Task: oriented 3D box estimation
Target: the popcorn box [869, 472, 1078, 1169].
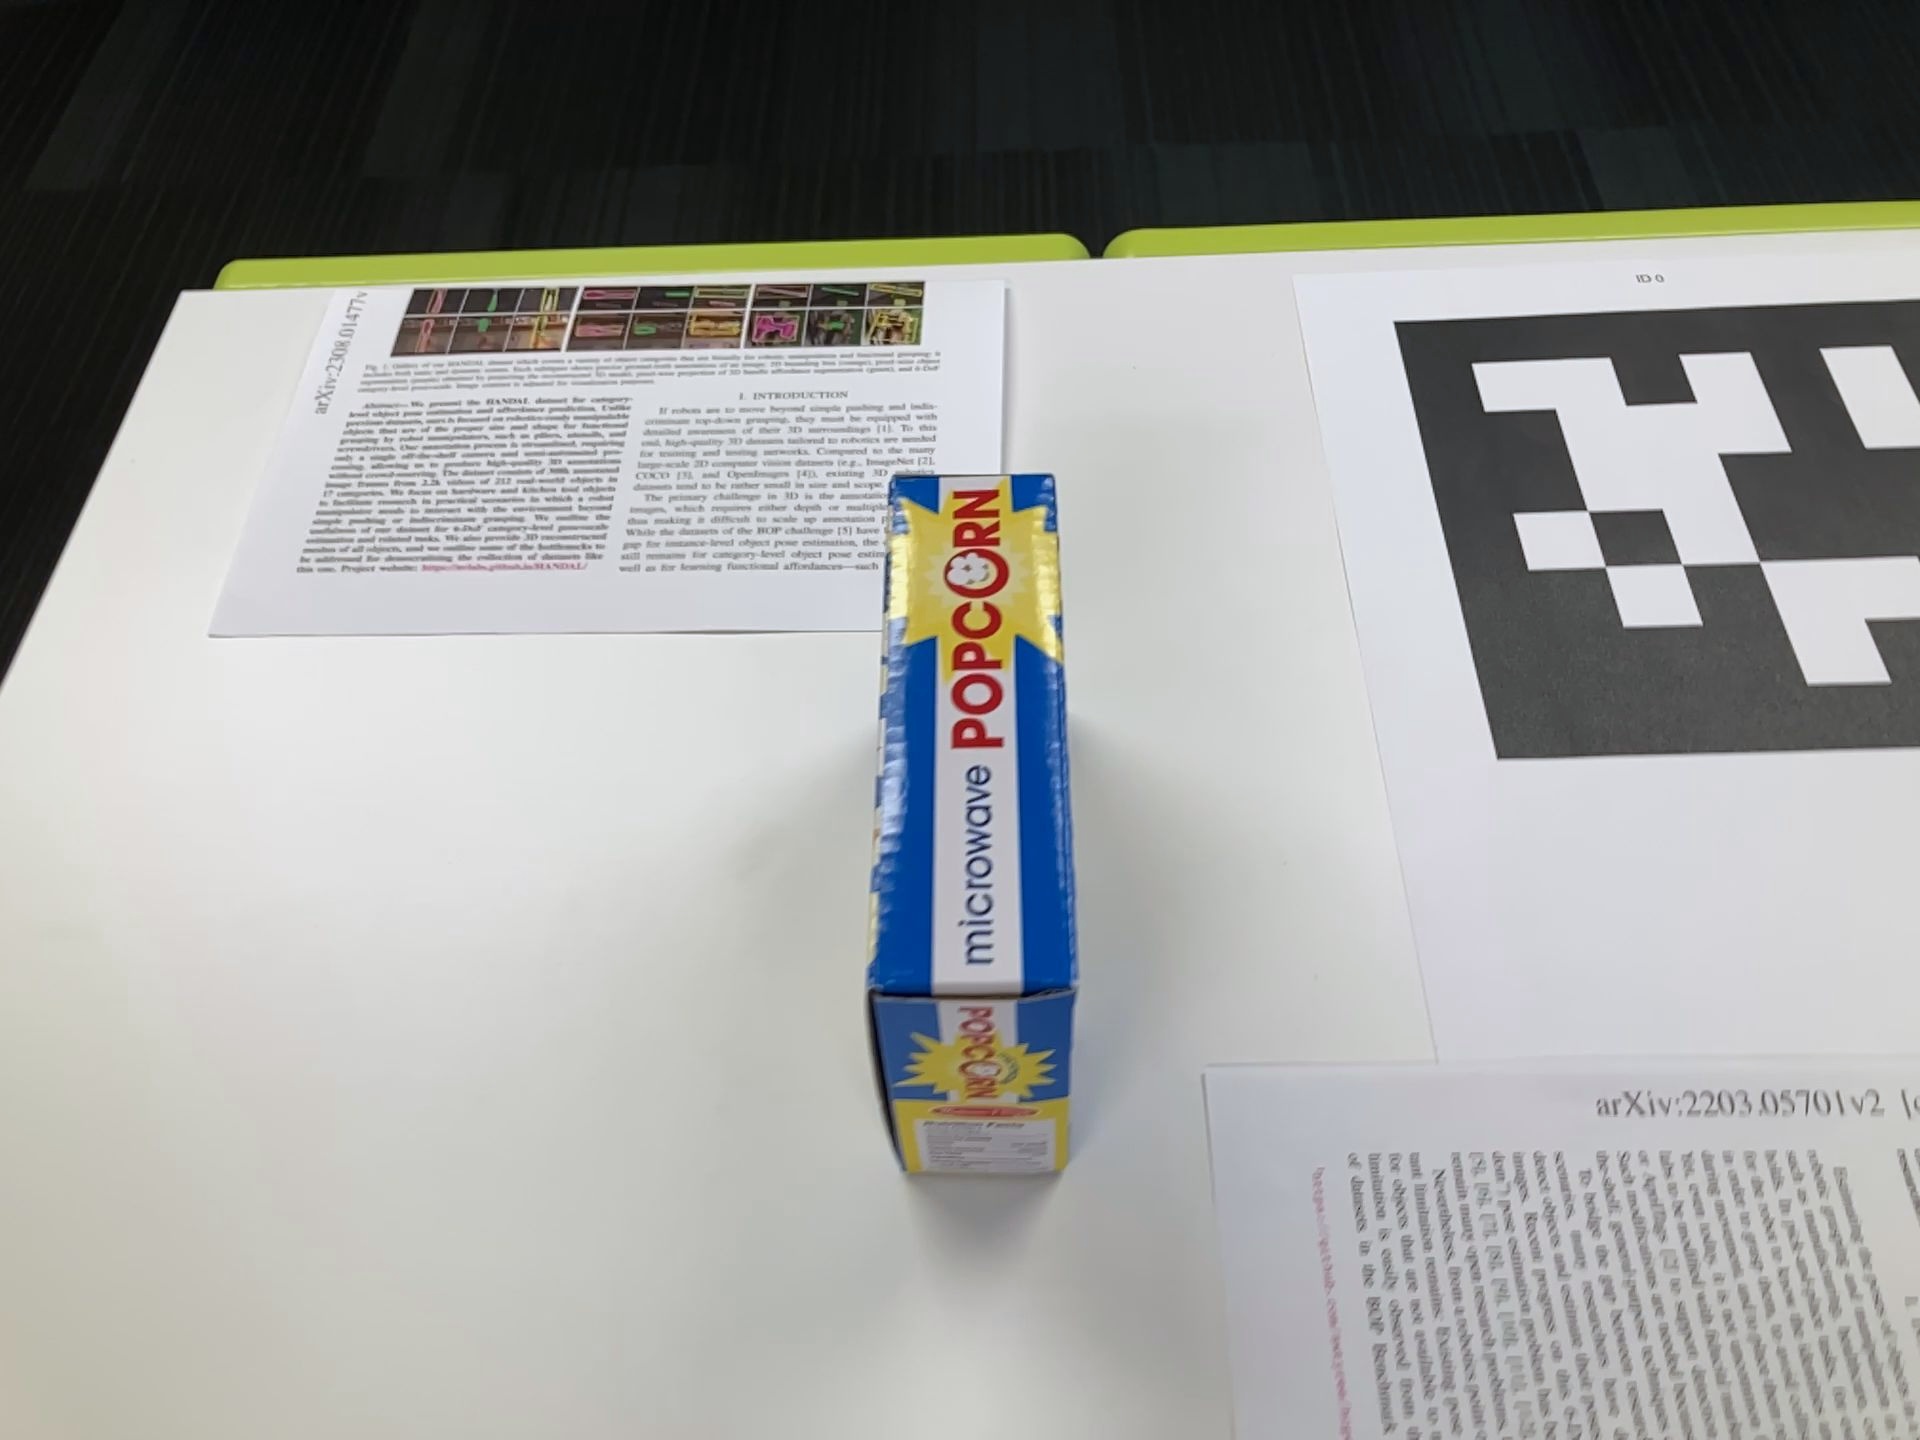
[{"bbox_3d":[0.004,0.021,0.342,0.038,0.085,0.126,-1,54,3],"label":"popcorn box"}]
